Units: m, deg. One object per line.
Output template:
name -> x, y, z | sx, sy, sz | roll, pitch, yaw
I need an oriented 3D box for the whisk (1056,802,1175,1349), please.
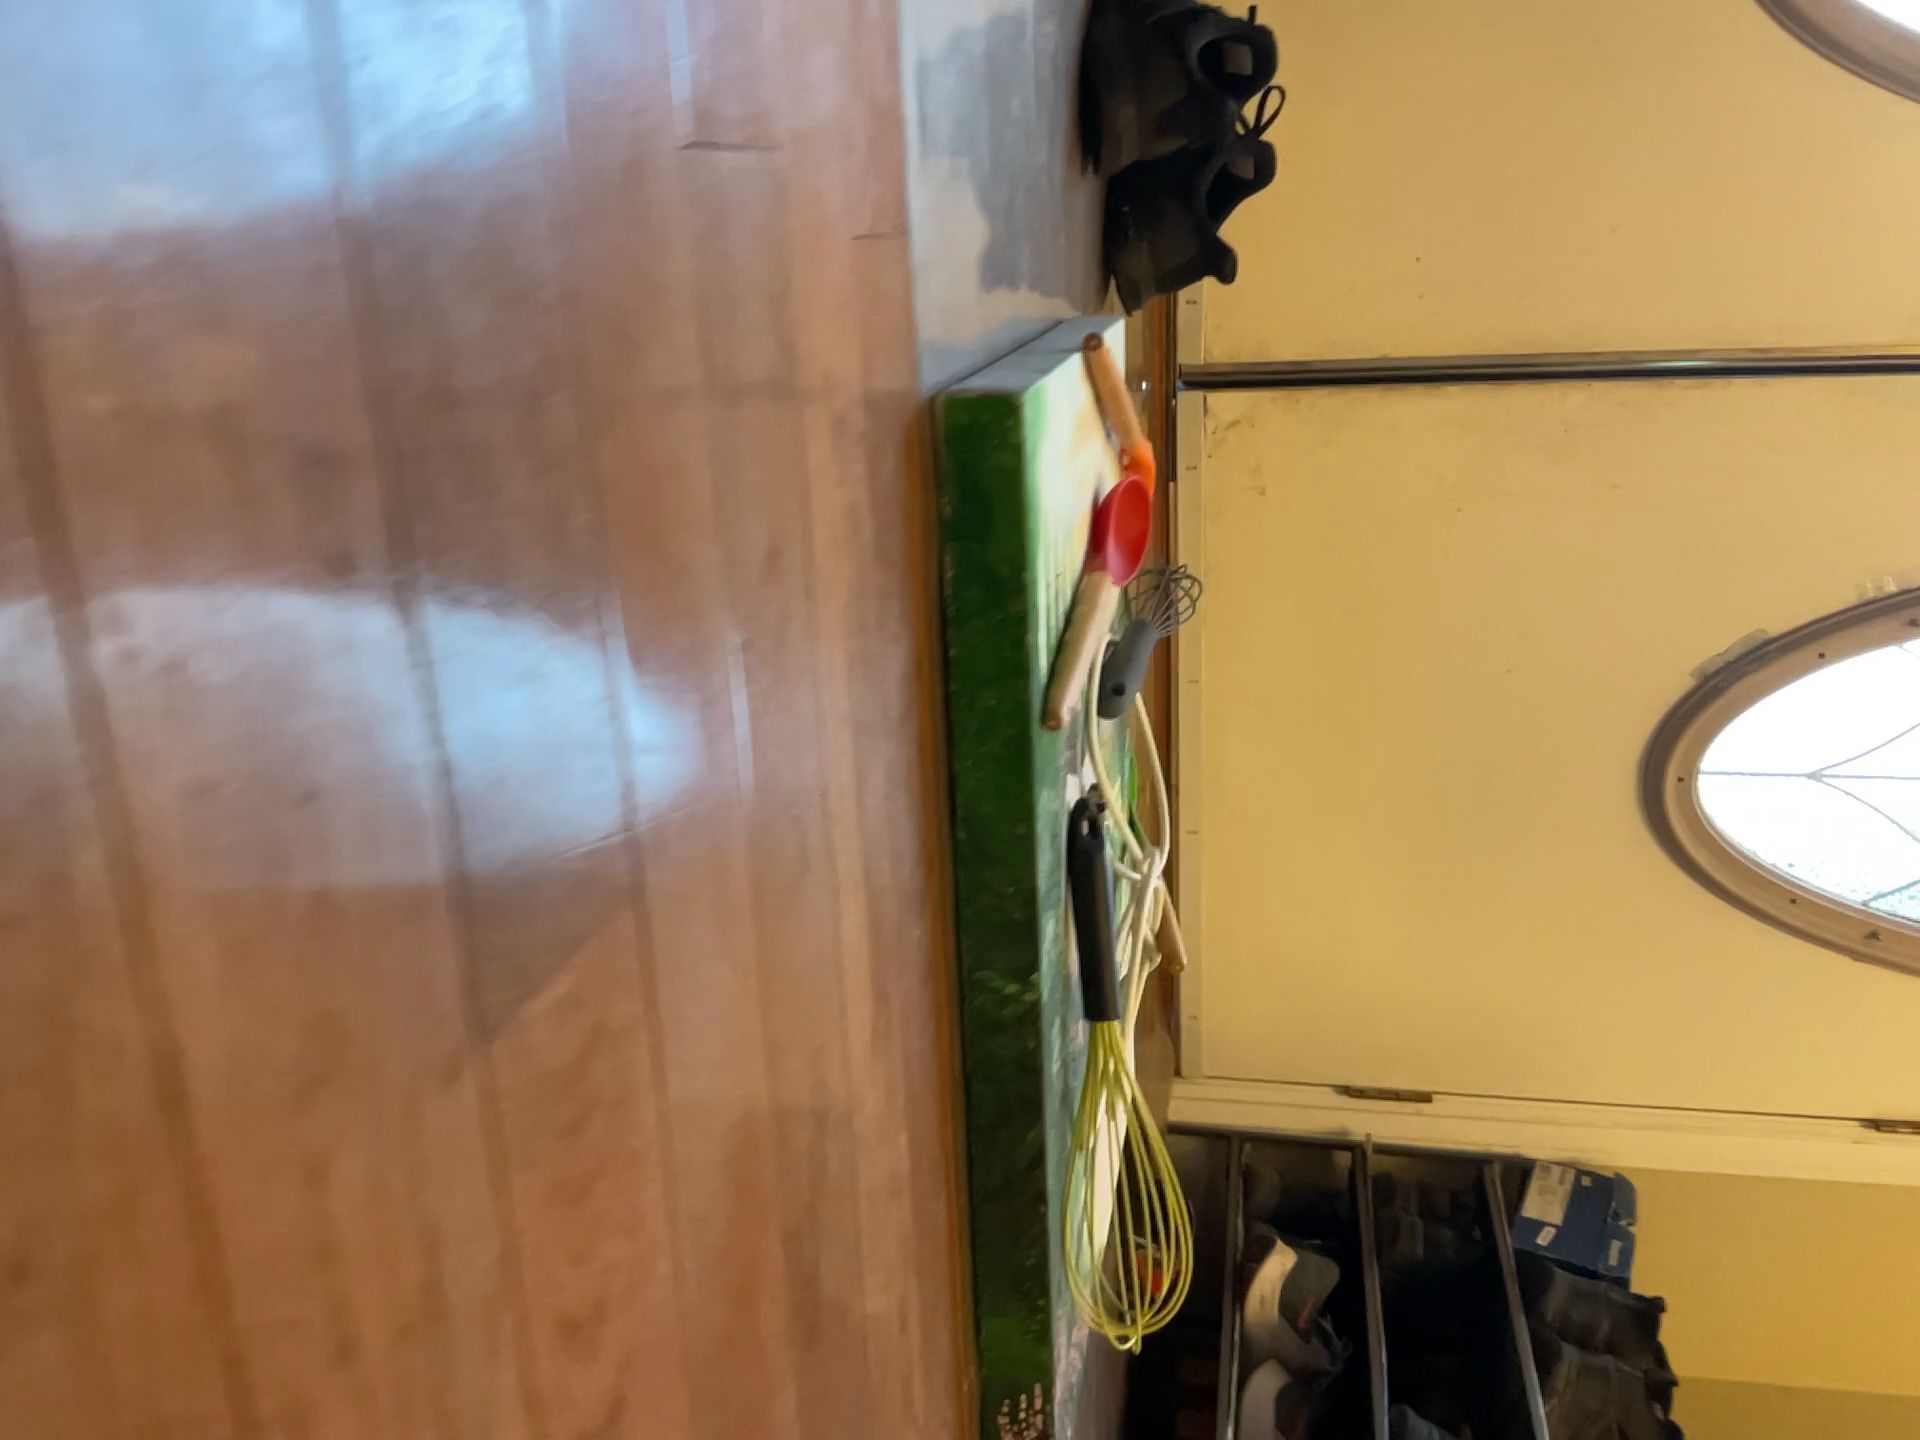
whisk -> 0.082, 0.203, 0.909 | 0.080, 0.067, 0.312 | -3, 88, -84

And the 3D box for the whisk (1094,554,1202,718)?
whisk -> 0.128, -0.059, 1.107 | 0.239, 0.055, 0.055 | -57, 136, -58

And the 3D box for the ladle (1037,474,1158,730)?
ladle -> 0.079, -0.069, 0.912 | 0.316, 0.031, 0.069 | -62, 151, -60

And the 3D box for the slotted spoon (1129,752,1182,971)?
slotted spoon -> 0.138, 0.104, 1.192 | 0.314, 0.031, 0.070 | -91, 179, -69

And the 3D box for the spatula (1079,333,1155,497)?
spatula -> 0.100, -0.191, 1.049 | 0.322, 0.041, 0.081 | 29, 52, -75
